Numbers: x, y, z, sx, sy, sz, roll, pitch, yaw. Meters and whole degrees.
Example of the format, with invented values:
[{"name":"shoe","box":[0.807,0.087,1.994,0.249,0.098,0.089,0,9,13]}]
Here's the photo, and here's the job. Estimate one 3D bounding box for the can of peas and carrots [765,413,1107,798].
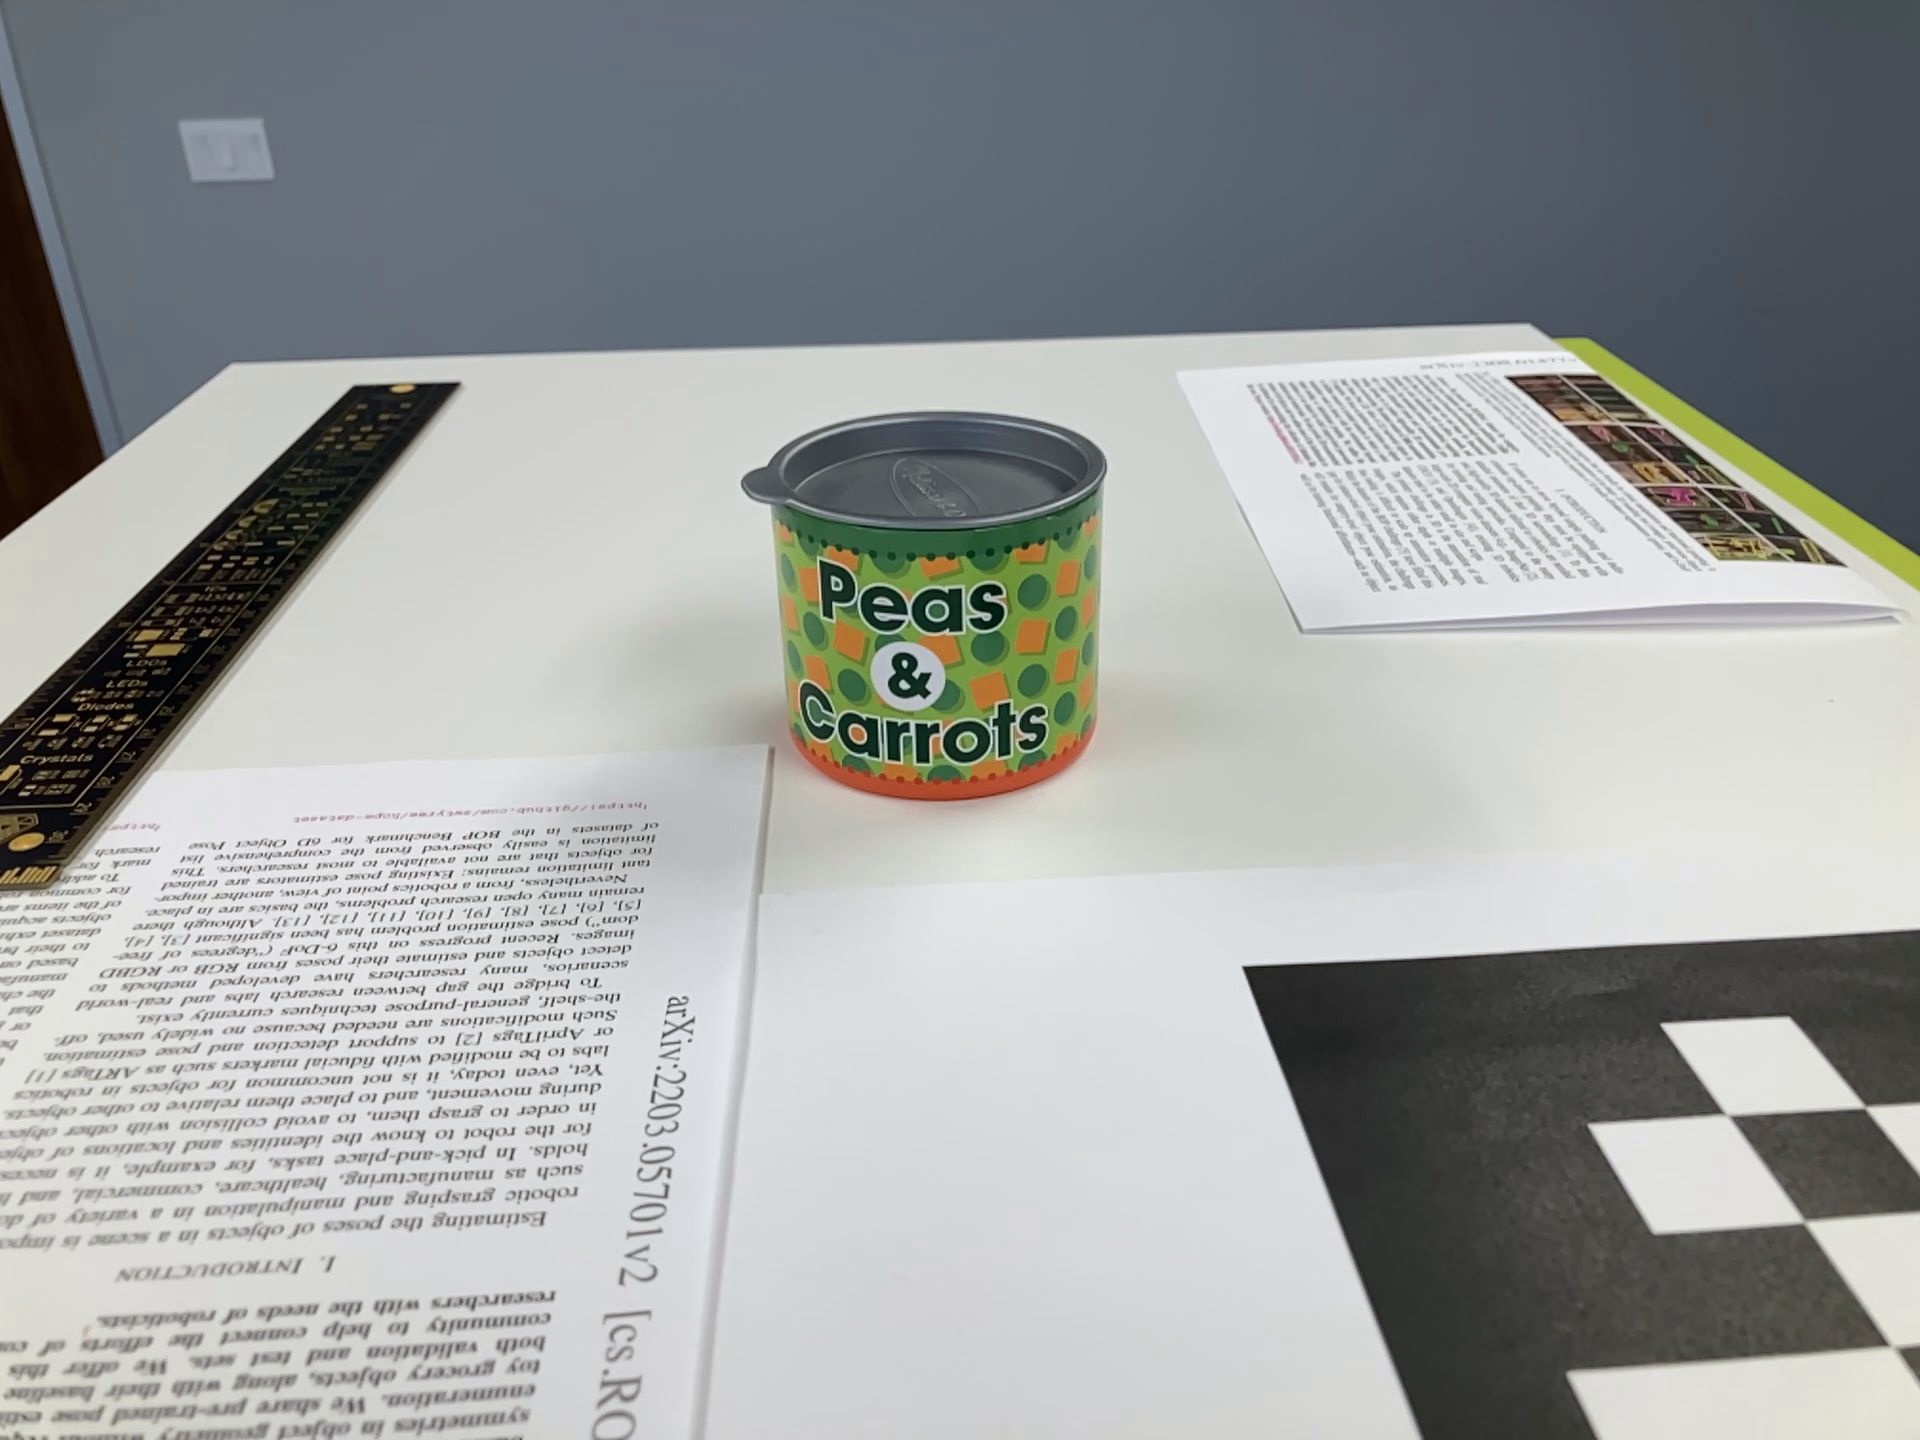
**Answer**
[{"name":"can of peas and carrots","box":[-0.005,-0.024,0.318,0.071,0.059,0.071,-1,28,0]}]
